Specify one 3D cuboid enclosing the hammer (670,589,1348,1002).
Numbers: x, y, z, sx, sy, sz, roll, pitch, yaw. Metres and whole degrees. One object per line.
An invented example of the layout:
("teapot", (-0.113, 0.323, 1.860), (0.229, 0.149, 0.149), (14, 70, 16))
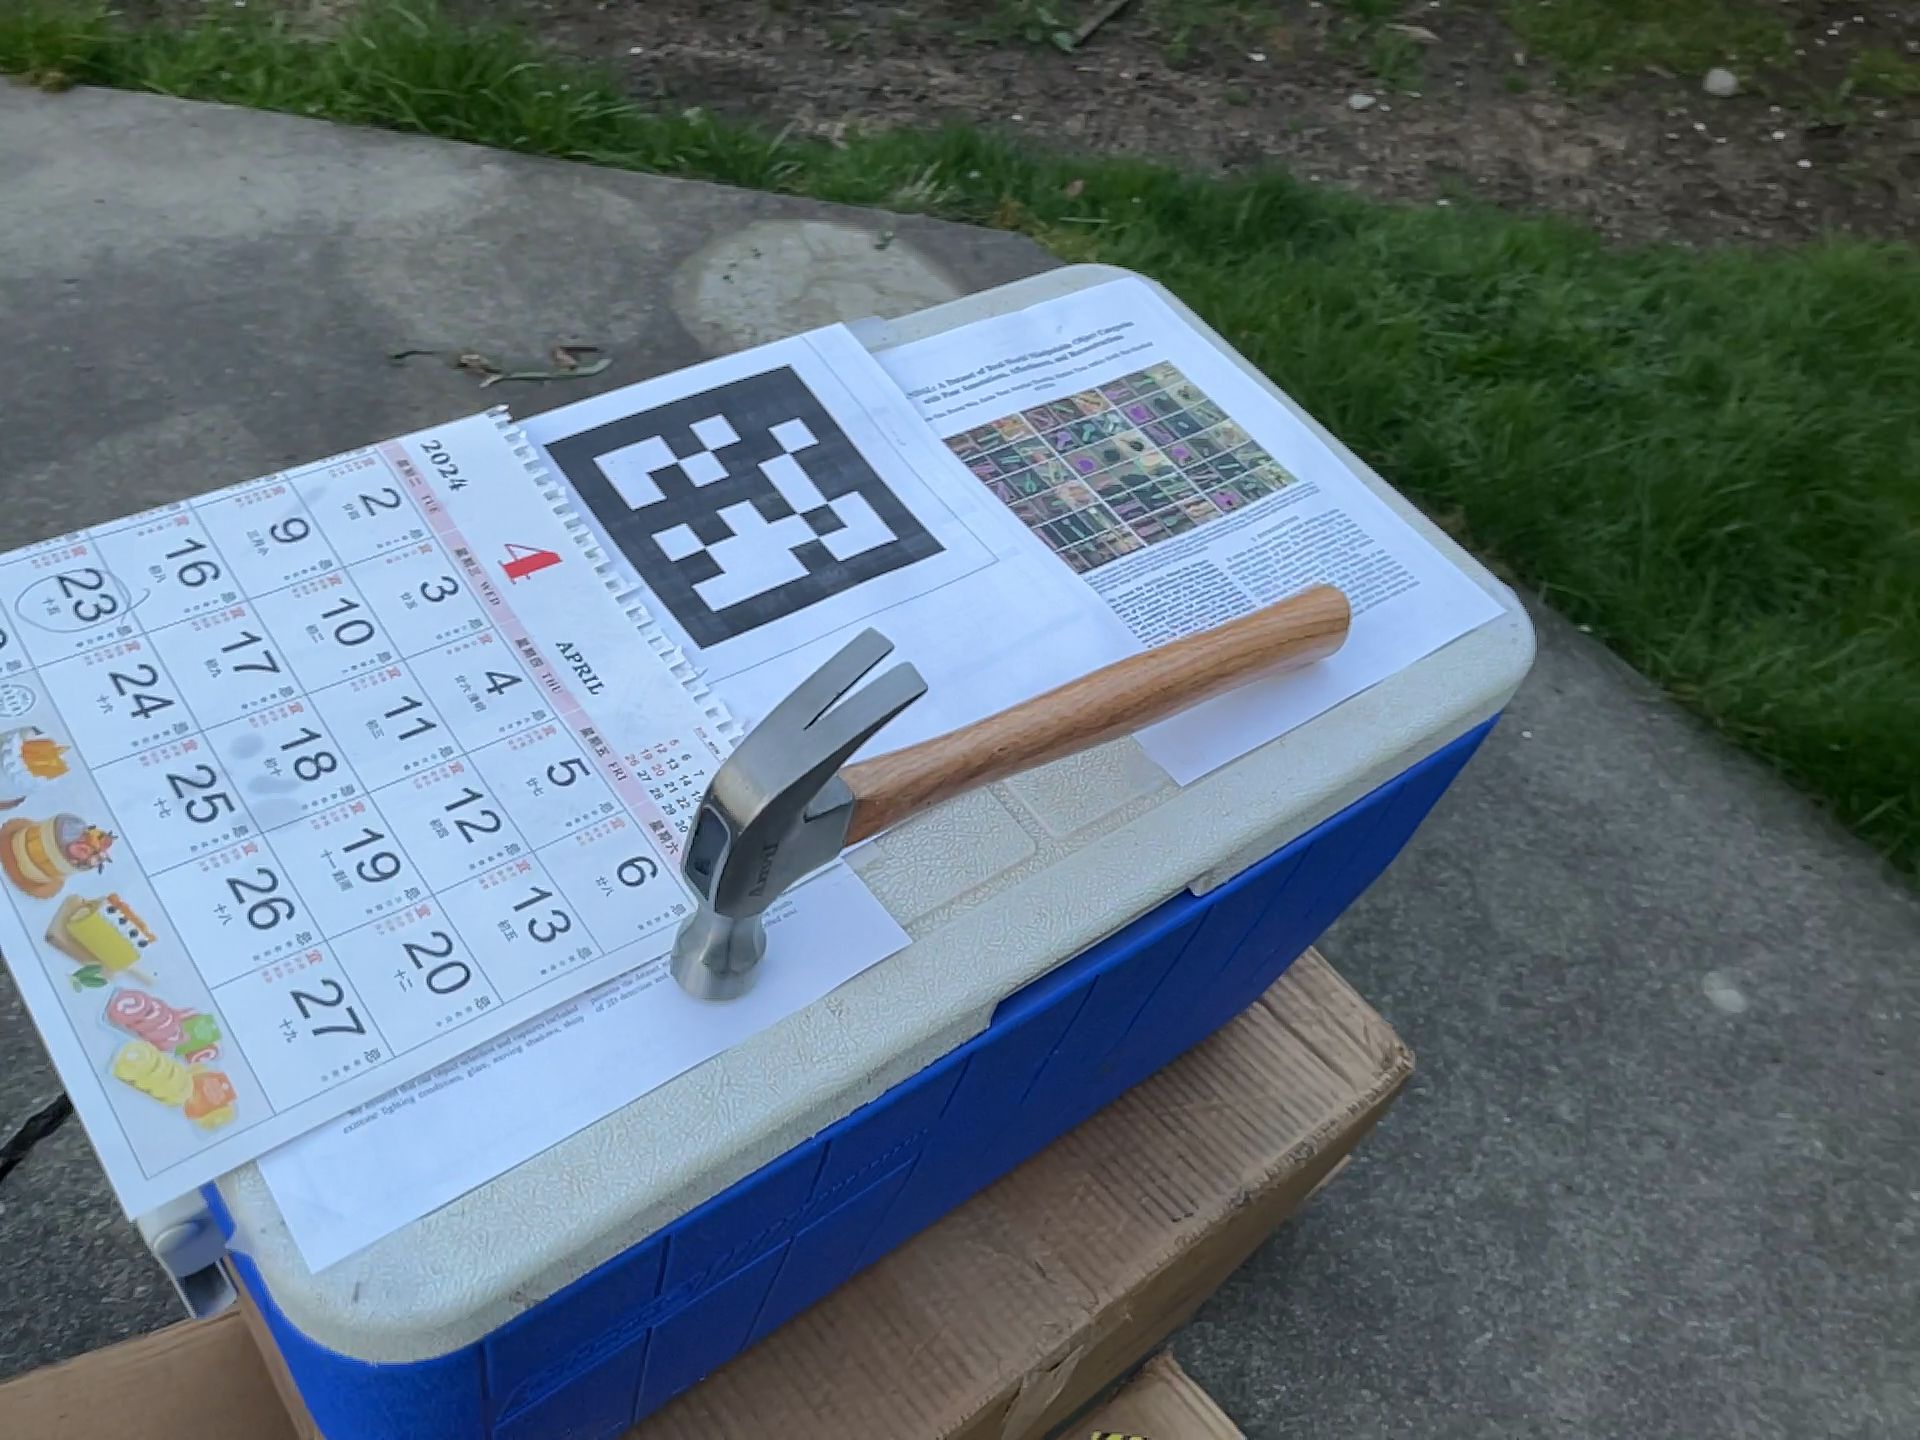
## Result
("hammer", (0.041, -0.001, 0.588), (0.331, 0.130, 0.031), (-20, 53, -38))
